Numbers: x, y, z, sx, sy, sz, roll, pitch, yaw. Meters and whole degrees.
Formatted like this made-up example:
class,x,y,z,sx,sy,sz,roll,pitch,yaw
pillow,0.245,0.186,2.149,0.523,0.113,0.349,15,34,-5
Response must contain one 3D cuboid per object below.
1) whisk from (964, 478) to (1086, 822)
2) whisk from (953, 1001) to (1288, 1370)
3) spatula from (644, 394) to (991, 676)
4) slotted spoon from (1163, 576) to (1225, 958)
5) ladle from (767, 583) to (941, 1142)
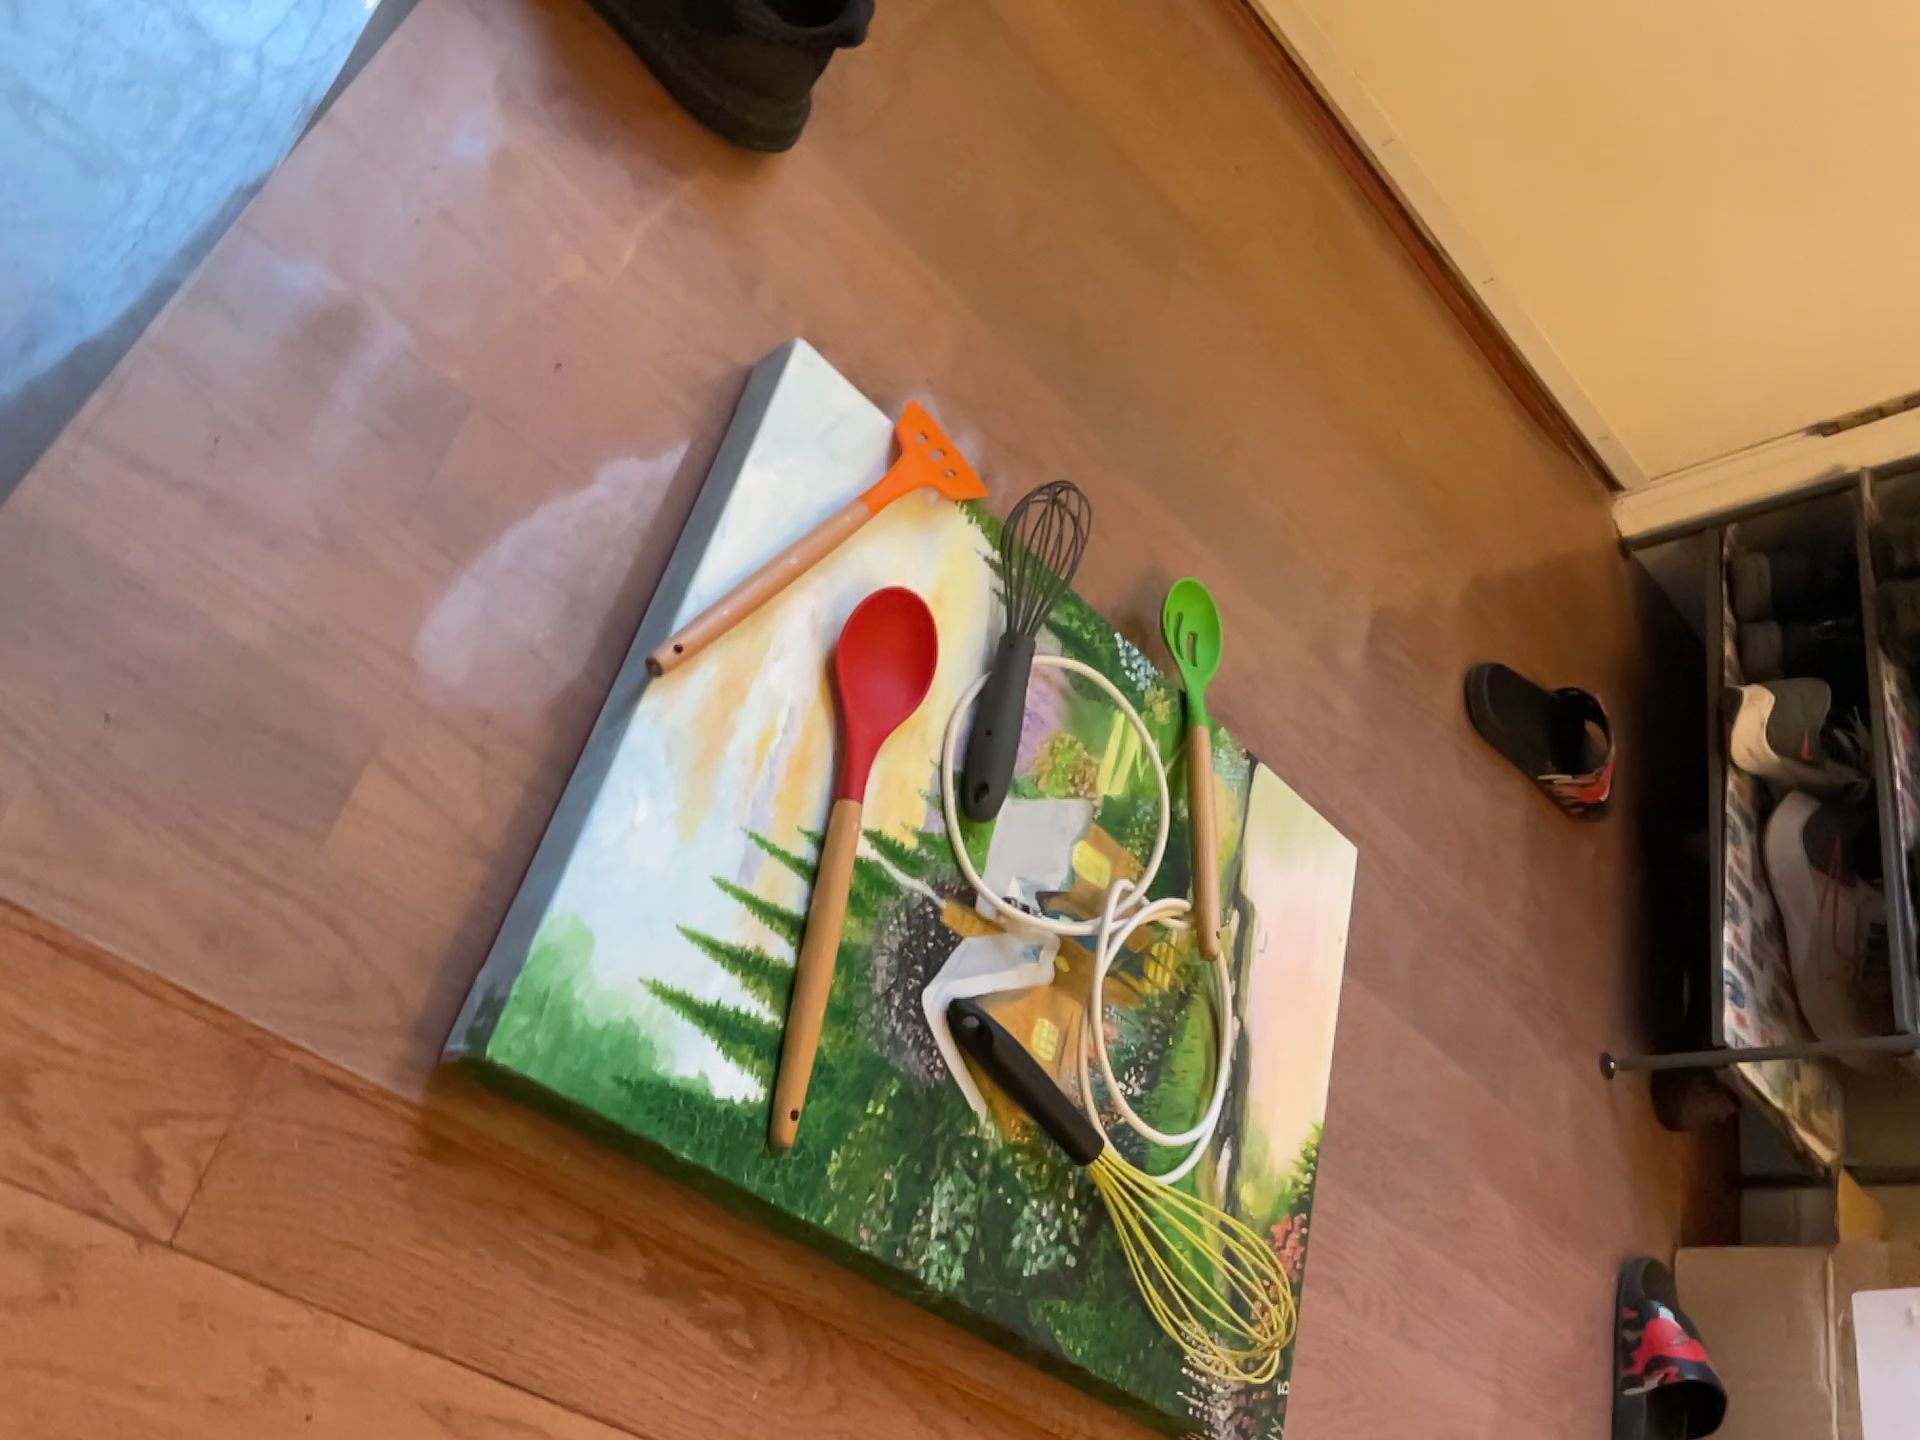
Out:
class,x,y,z,sx,sy,sz,roll,pitch,yaw
whisk,0.038,-0.048,0.986,0.055,0.055,0.239,25,65,-27
whisk,0.094,0.274,0.937,0.311,0.067,0.080,49,41,-16
spatula,-0.075,-0.106,0.913,0.081,0.041,0.323,51,47,-6
slotted spoon,0.164,0.025,1.098,0.070,0.031,0.314,37,41,-33
ladle,-0.063,0.068,0.855,0.069,0.031,0.316,30,59,-35
